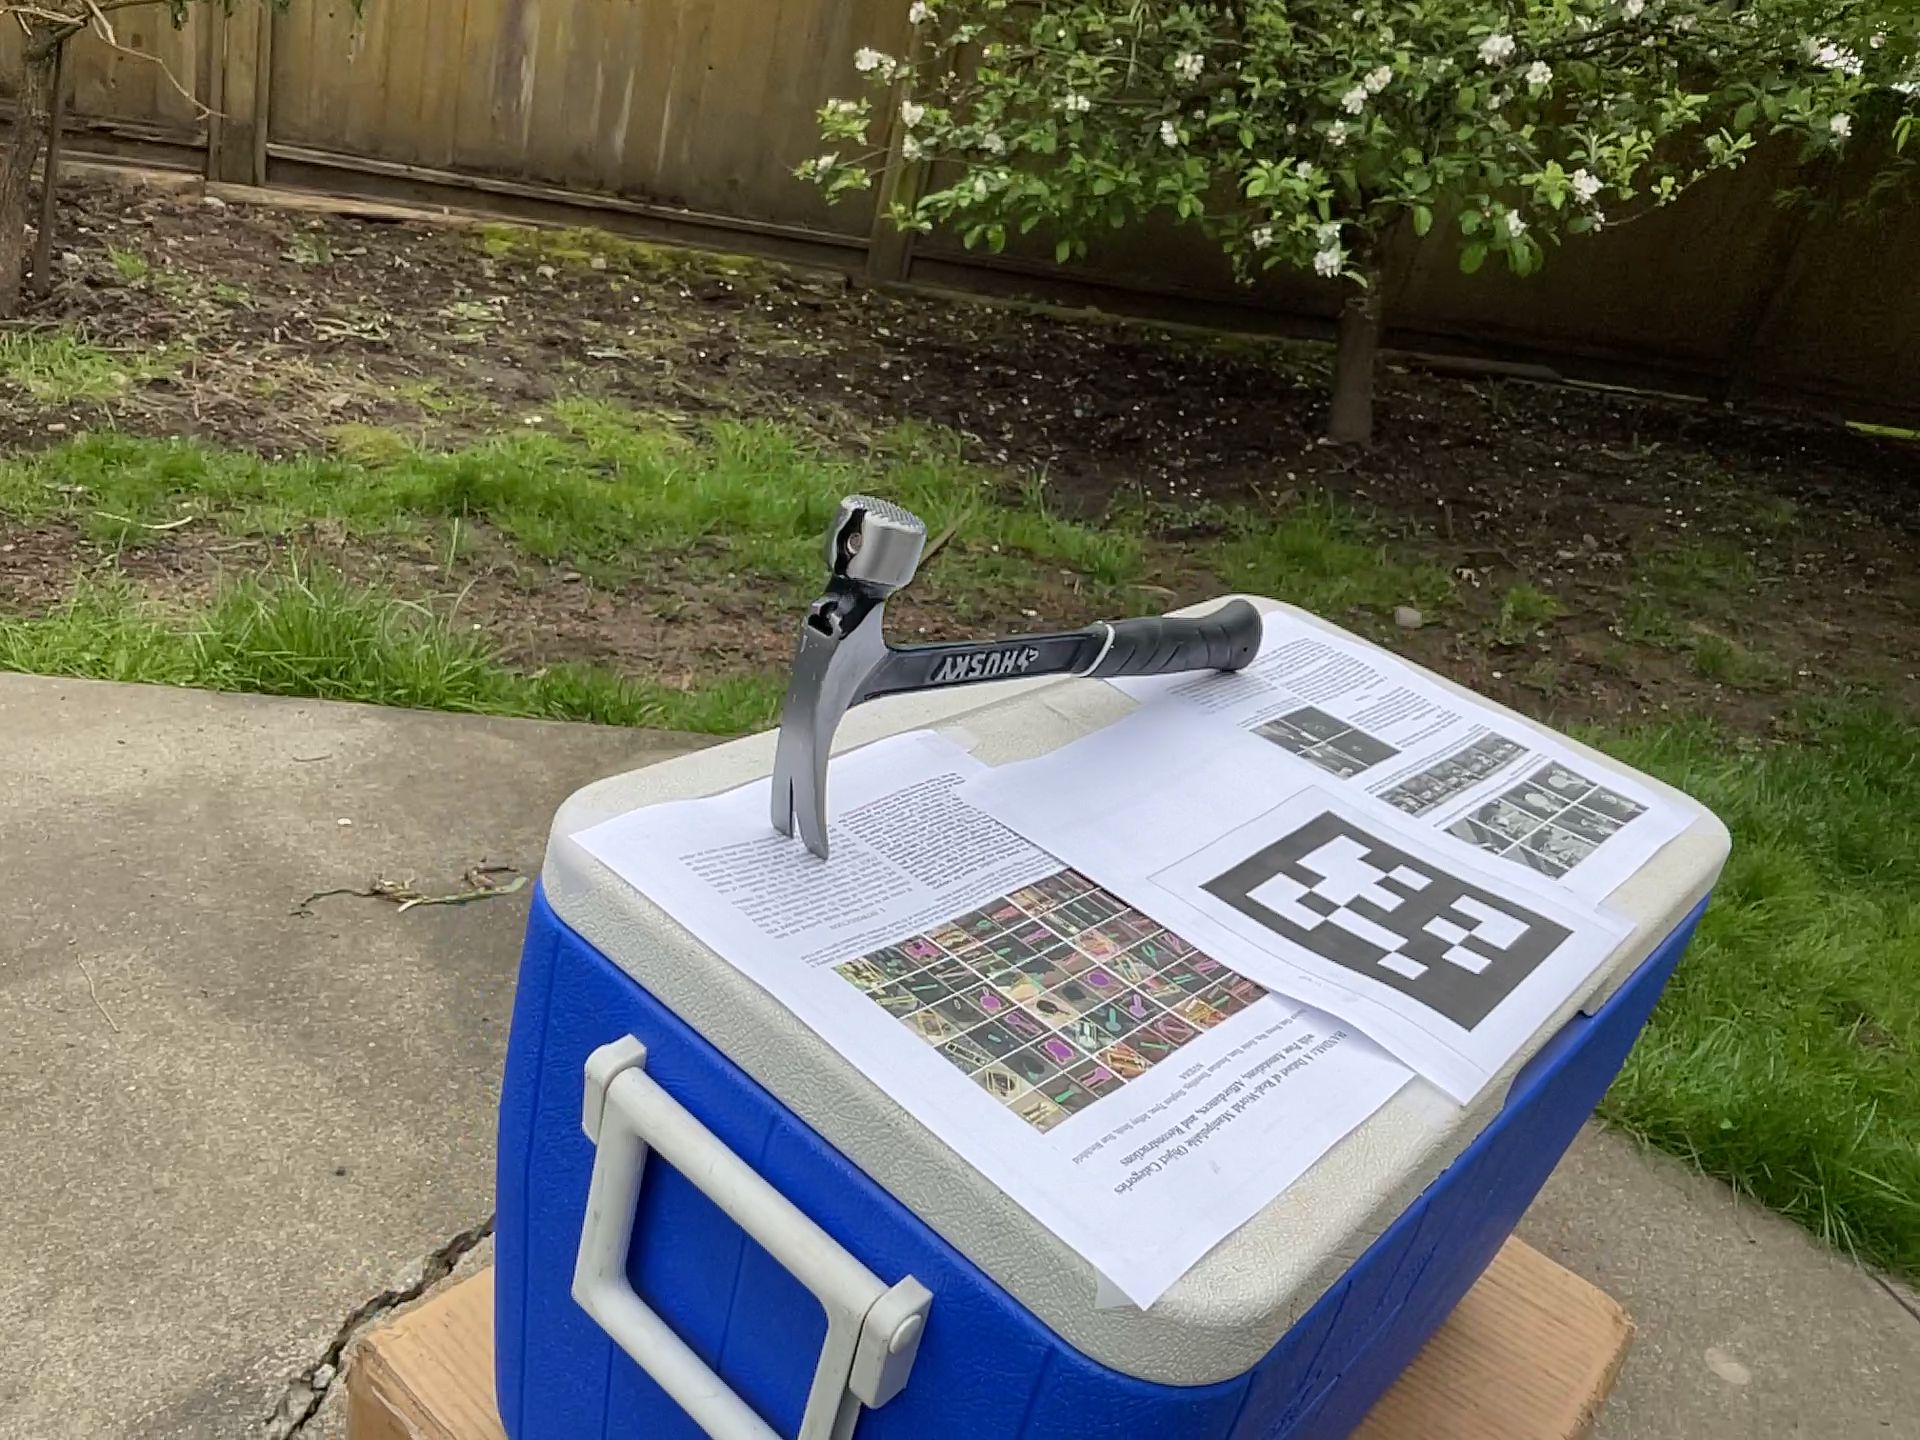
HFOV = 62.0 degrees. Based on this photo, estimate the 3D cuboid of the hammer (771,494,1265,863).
[{"bbox_3d":[0.053,-0.027,0.778,0.036,0.149,0.408,30,20,29],"label":"hammer"}]
